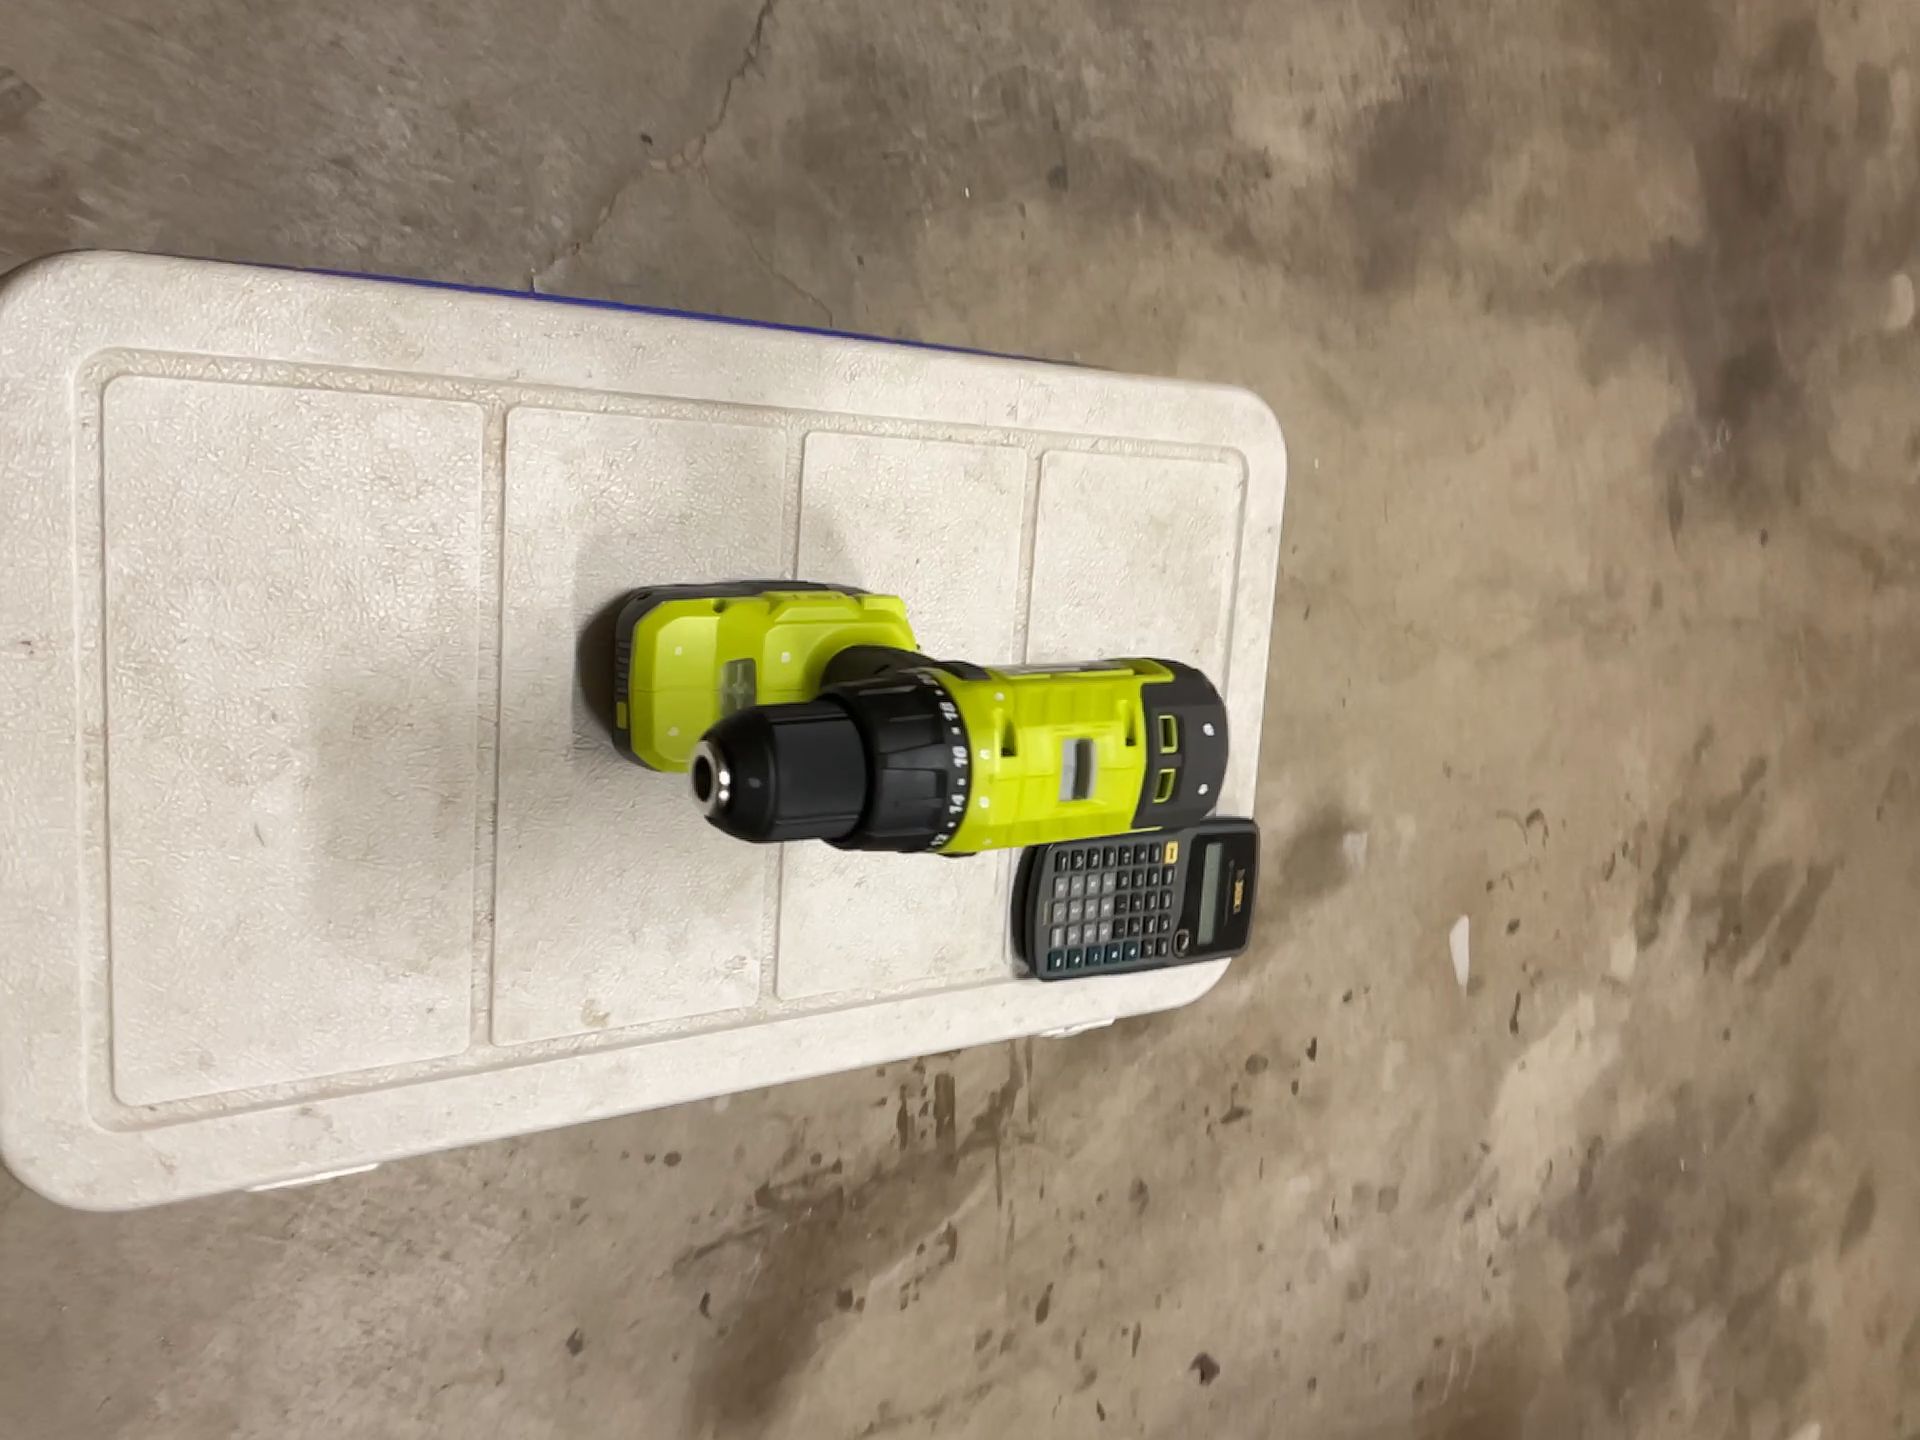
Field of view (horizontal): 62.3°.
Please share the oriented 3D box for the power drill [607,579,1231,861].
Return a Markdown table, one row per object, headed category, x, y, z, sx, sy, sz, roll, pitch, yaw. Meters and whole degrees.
| category | x | y | z | sx | sy | sz | roll | pitch | yaw |
| --- | --- | --- | --- | --- | --- | --- | --- | --- | --- |
| power drill | -0.043 | -0.001 | 0.582 | 0.191 | 0.228 | 0.080 | -3 | 102 | -34 |
